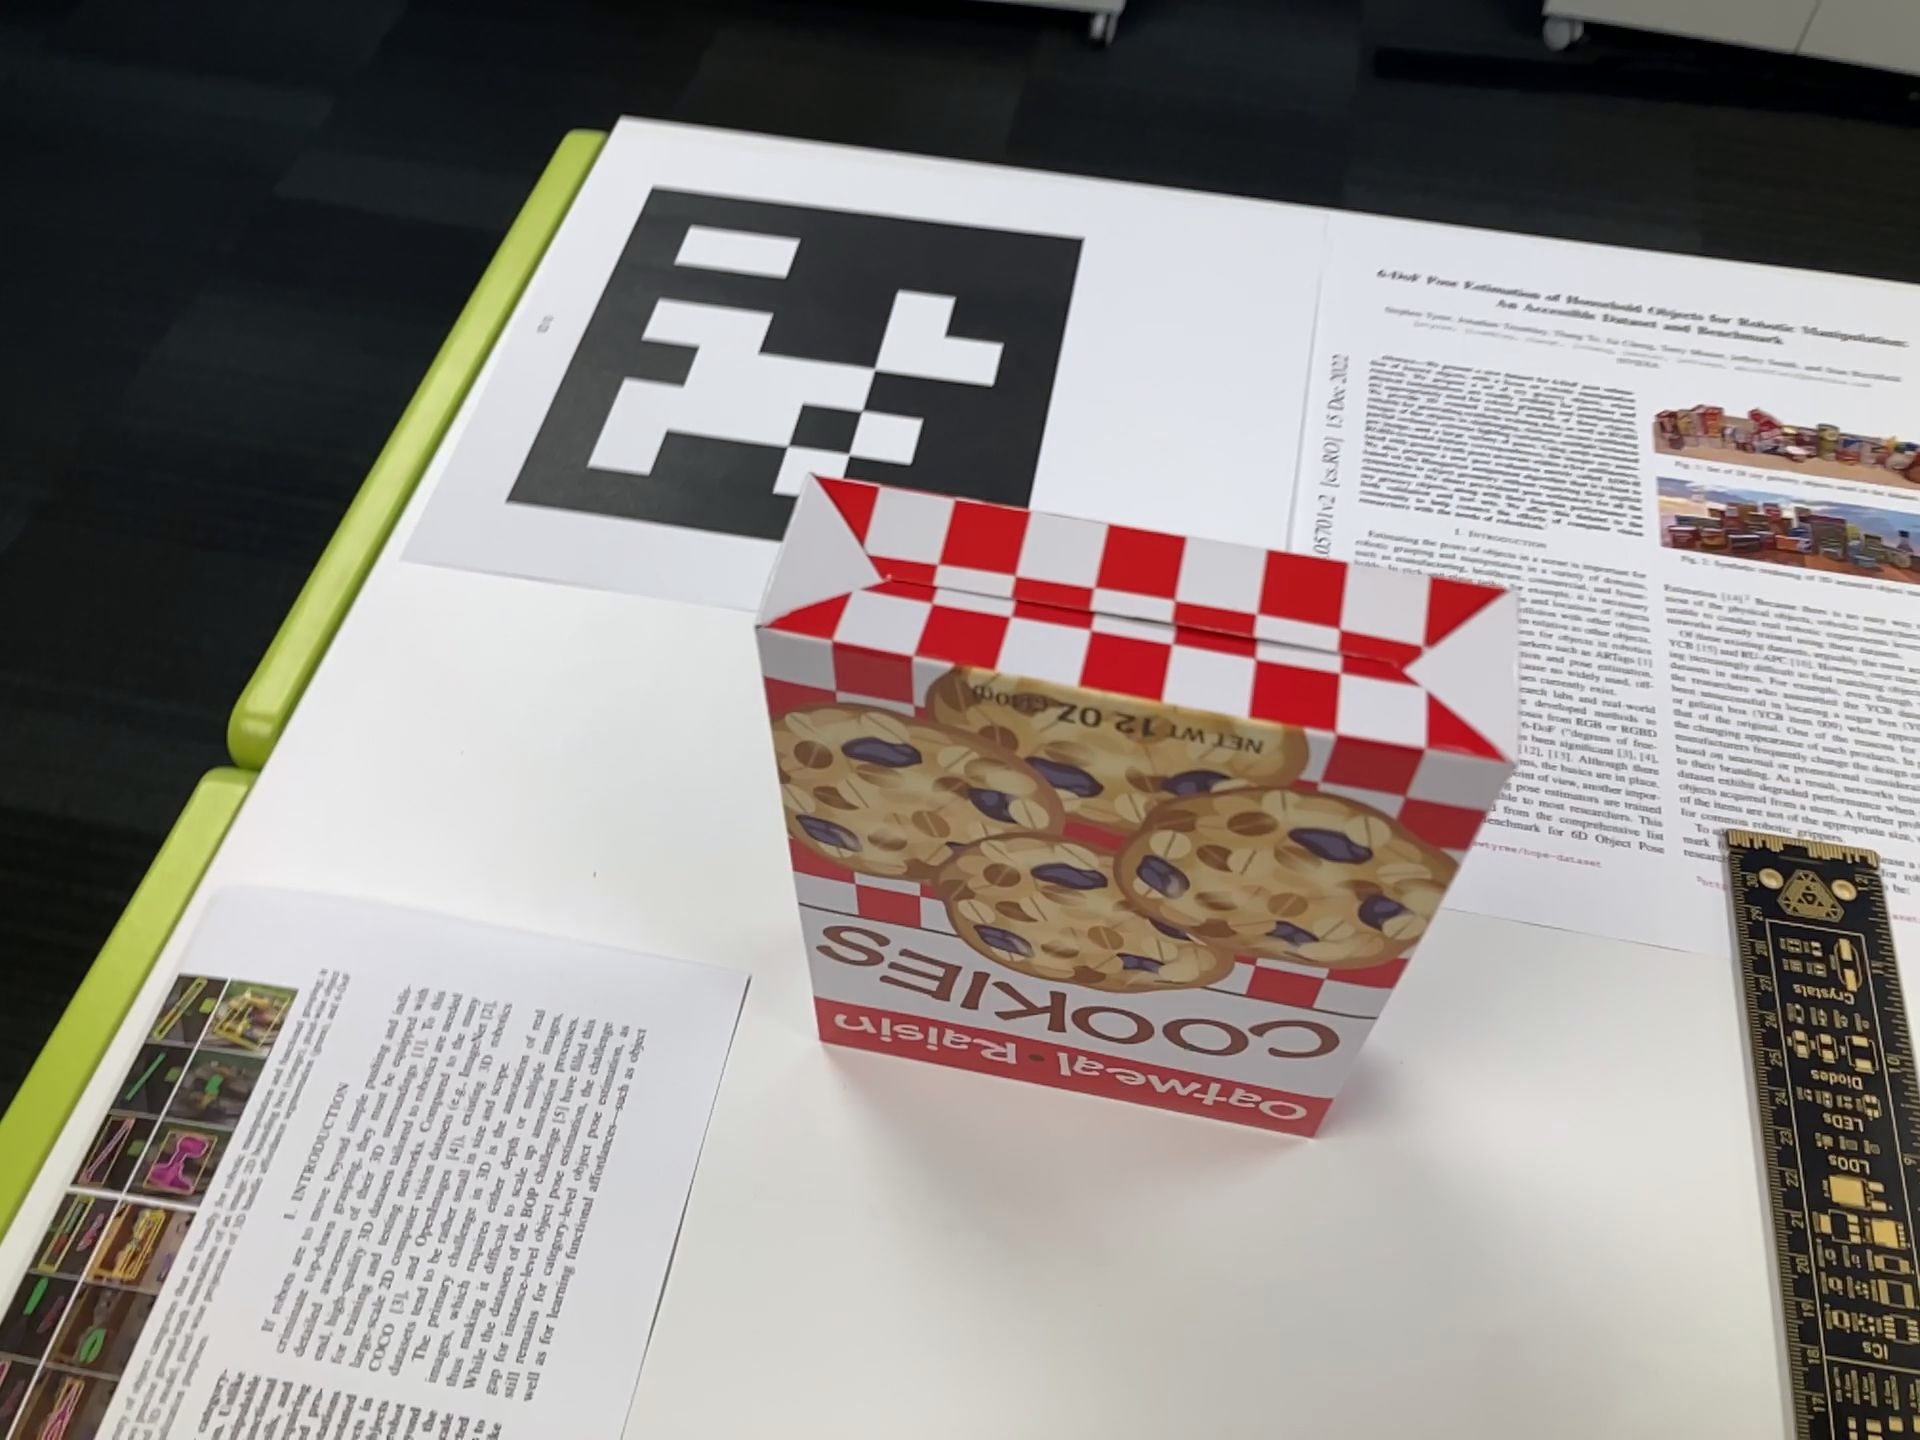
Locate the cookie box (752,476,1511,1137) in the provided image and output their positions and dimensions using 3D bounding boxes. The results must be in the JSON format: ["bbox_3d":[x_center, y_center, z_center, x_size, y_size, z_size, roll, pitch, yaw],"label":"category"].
[{"bbox_3d":[0.029,0.028,0.330,0.123,0.167,0.040,10,56,7],"label":"cookie box"}]
